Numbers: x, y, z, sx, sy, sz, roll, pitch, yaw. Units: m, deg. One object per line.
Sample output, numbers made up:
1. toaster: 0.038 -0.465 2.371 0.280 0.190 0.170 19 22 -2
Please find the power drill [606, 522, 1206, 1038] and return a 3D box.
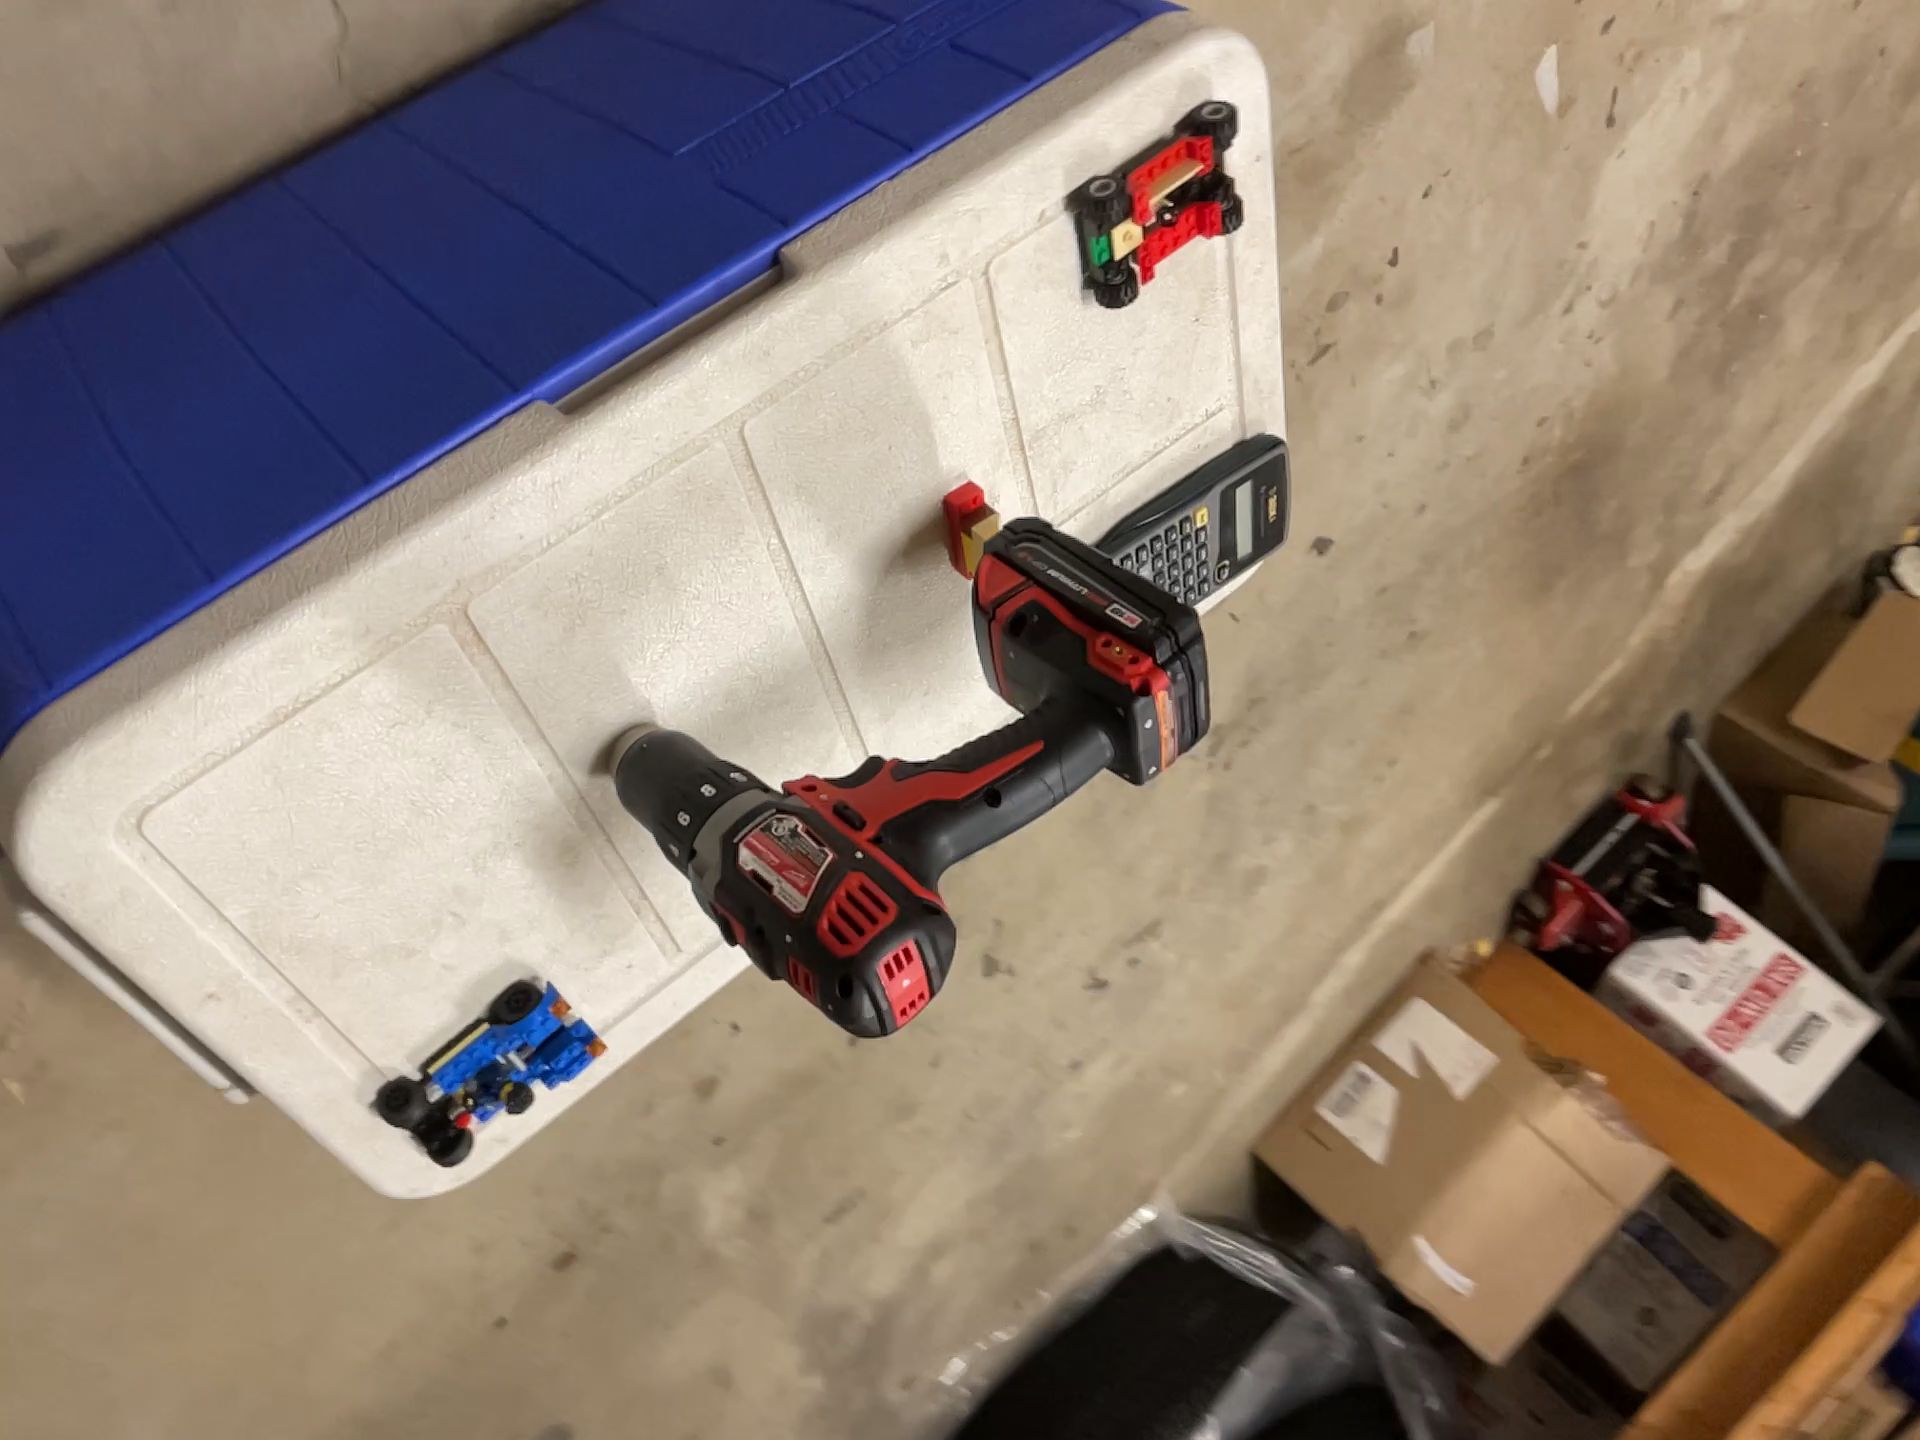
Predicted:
1. power drill: -0.025 0.011 0.687 0.227 0.188 0.080 -39 143 -23
